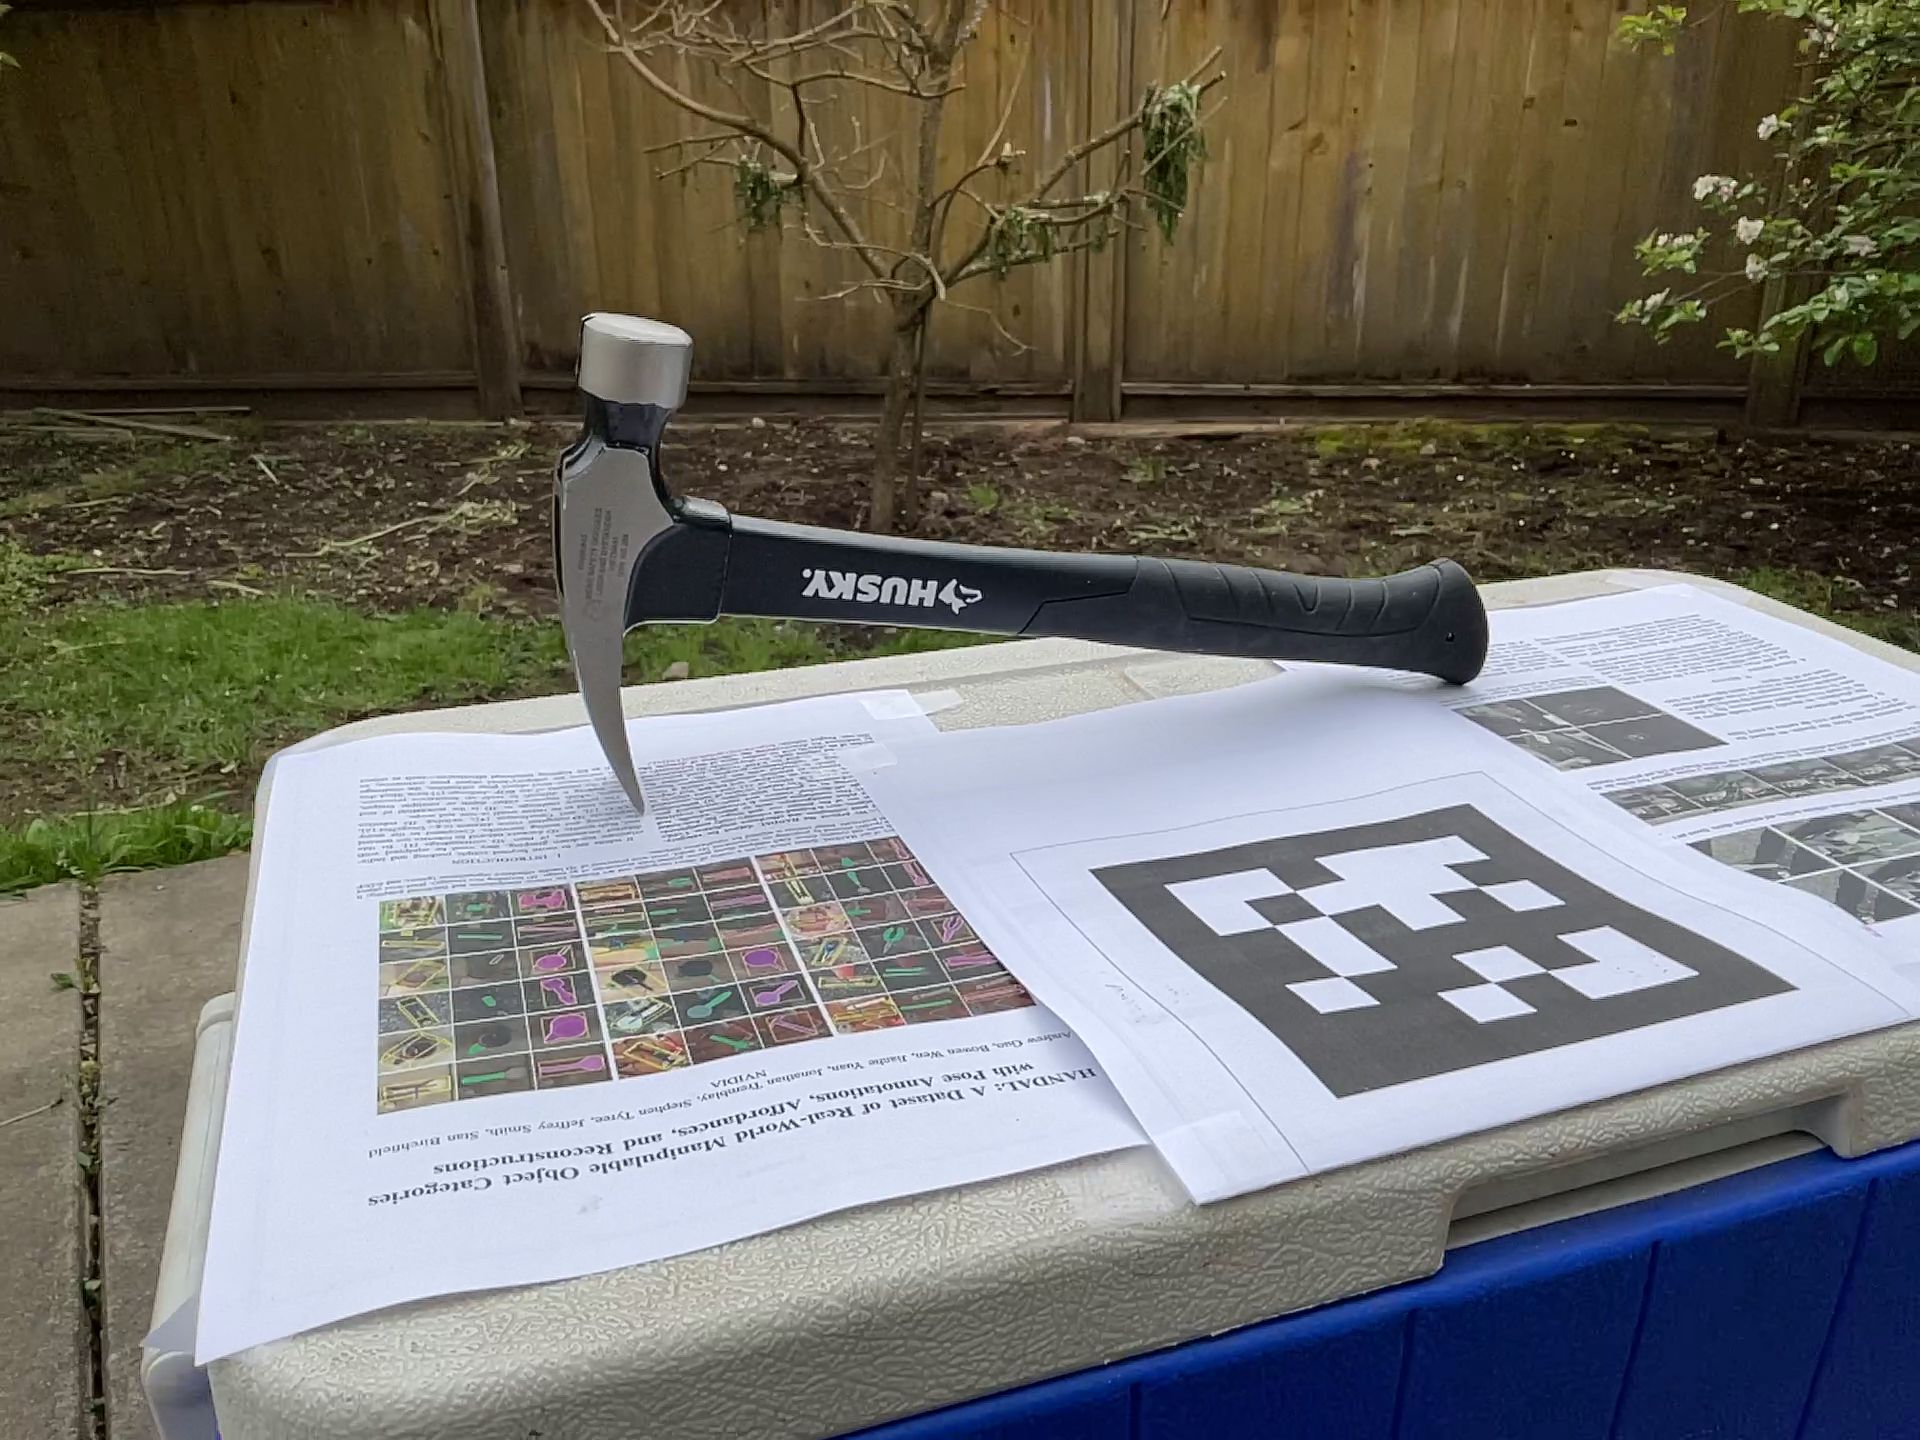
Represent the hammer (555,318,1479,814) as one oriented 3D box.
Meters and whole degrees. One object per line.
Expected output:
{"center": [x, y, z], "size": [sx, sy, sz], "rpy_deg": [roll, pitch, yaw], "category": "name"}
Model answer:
{"center": [0.033, -0.036, 0.539], "size": [0.334, 0.146, 0.035], "rpy_deg": [4, 21, -22], "category": "hammer"}
